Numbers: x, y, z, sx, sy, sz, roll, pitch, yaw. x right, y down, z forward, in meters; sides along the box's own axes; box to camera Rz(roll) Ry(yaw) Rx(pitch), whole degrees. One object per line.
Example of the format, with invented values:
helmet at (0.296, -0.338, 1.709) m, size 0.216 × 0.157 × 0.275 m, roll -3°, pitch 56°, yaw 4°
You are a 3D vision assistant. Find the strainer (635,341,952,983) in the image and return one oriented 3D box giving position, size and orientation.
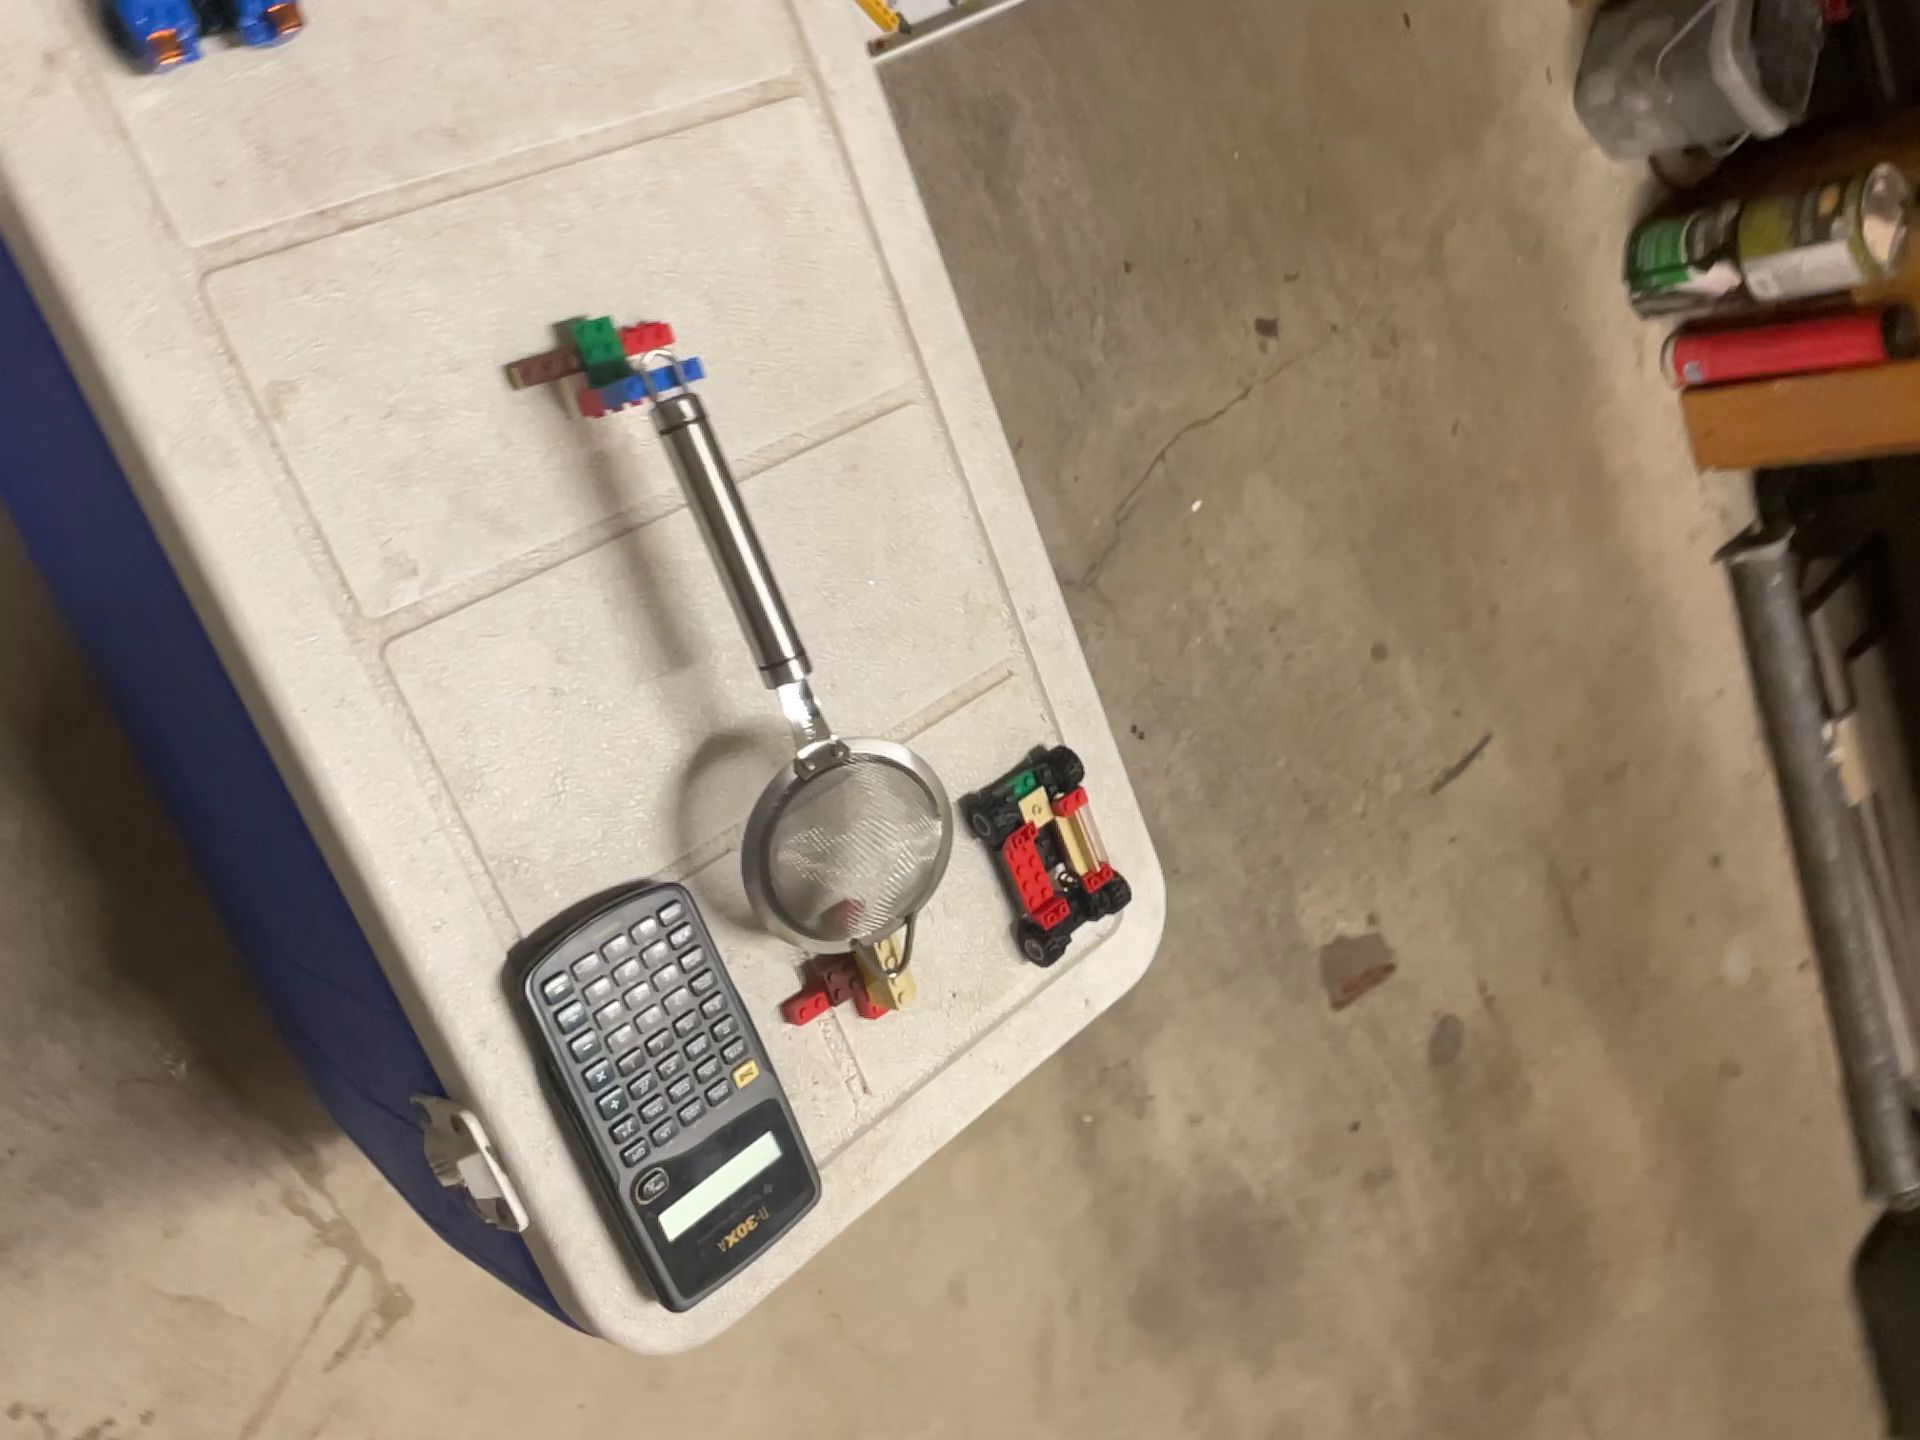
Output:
strainer at (-0.063, -0.013, 0.579) m, size 0.087 × 0.050 × 0.258 m, roll -26°, pitch 104°, yaw -19°
